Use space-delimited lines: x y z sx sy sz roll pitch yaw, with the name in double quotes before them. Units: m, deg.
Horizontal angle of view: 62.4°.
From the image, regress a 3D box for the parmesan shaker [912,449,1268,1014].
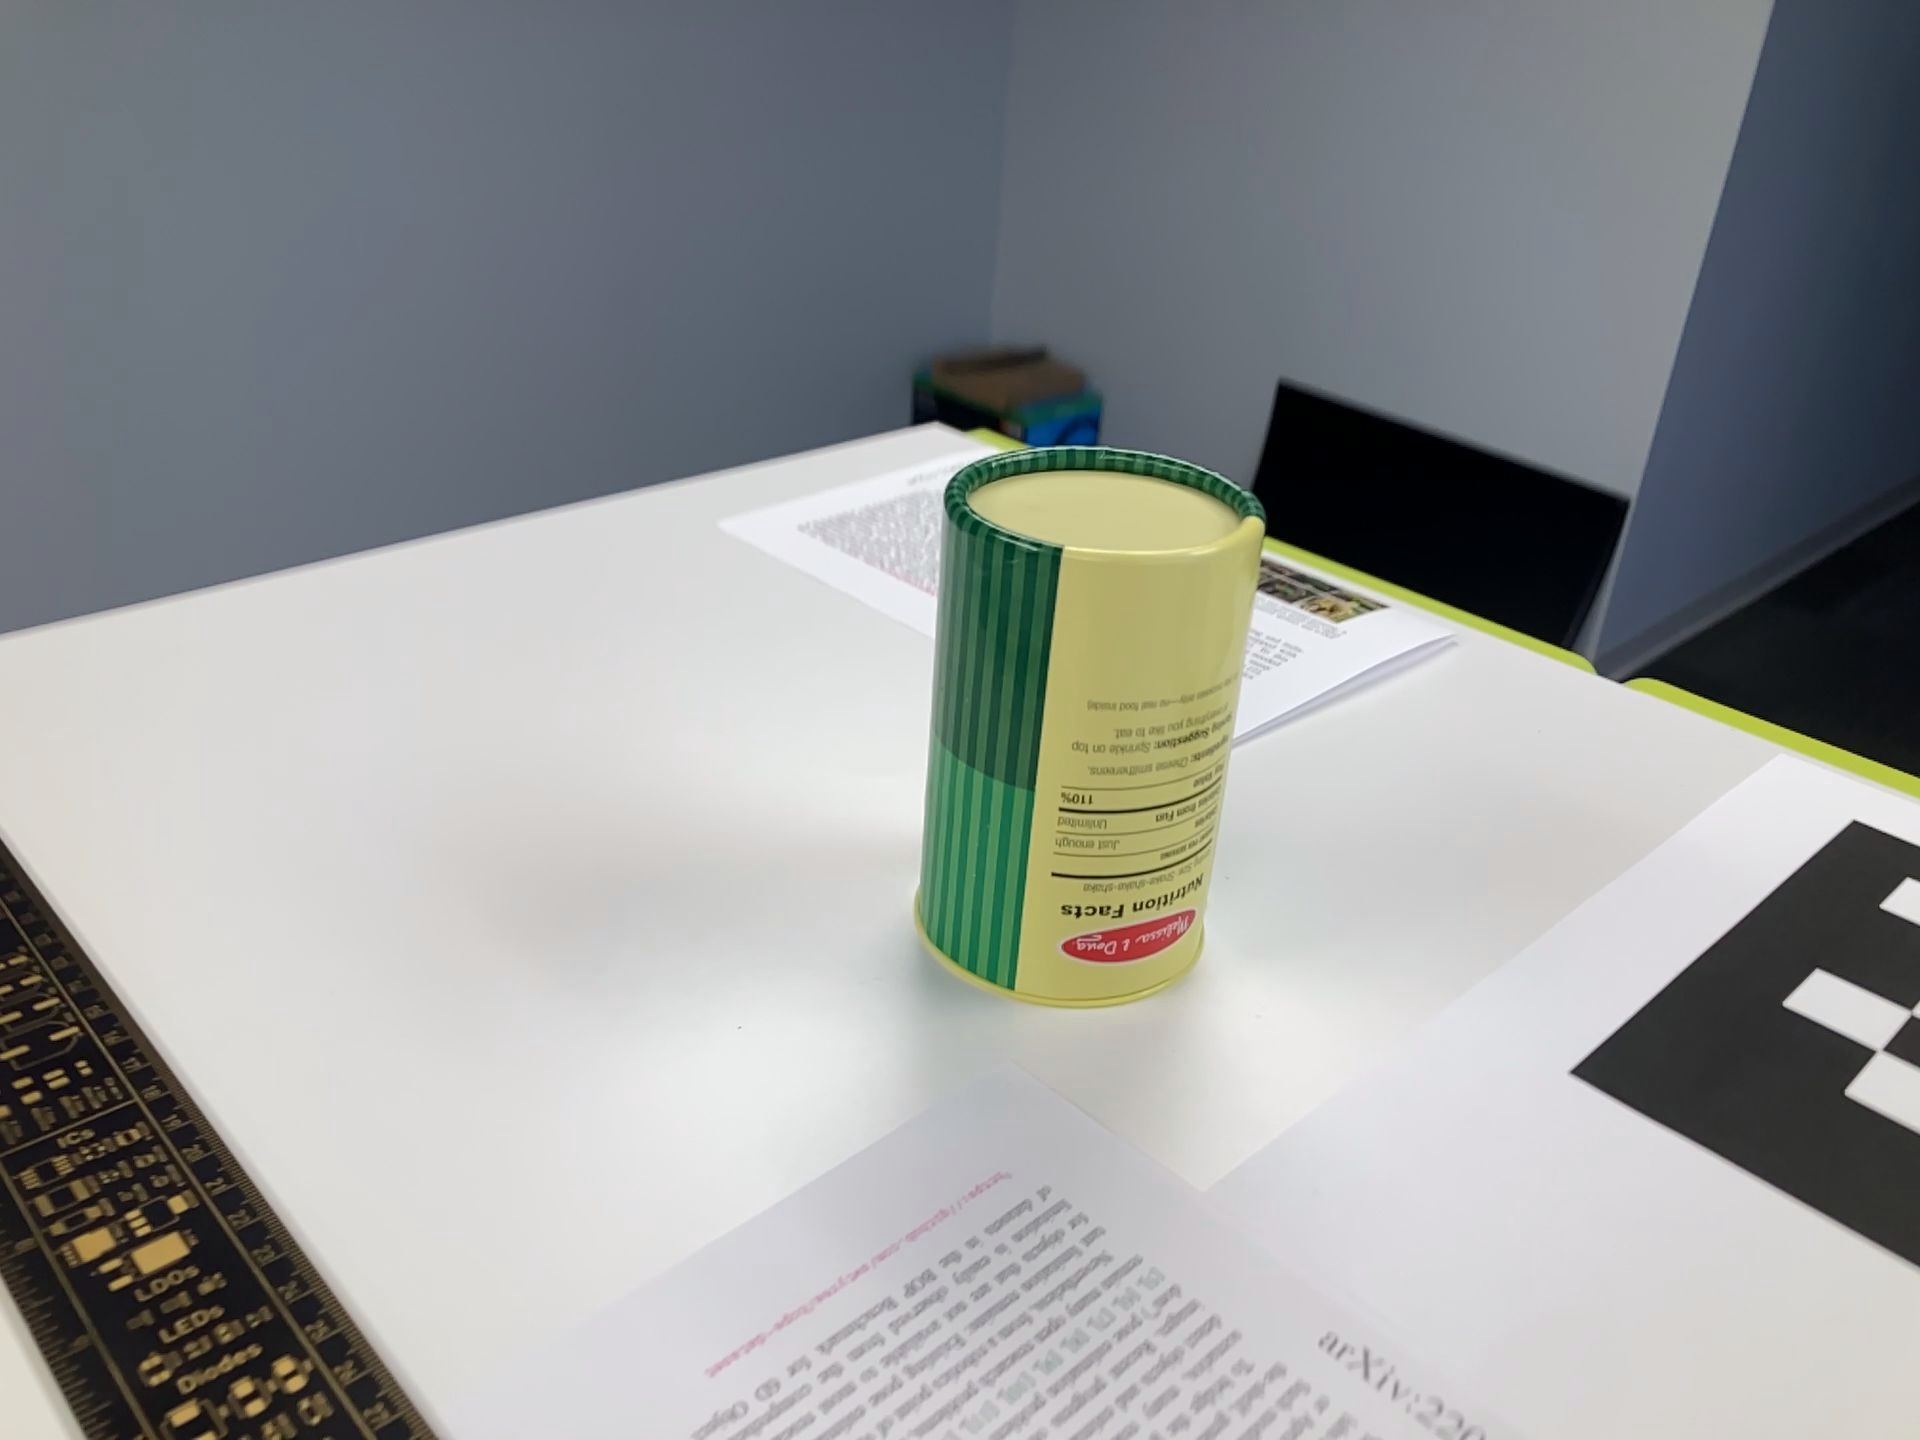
"parmesan shaker" 0.028 0.000 0.339 0.071 0.103 0.071 3 27 -2
